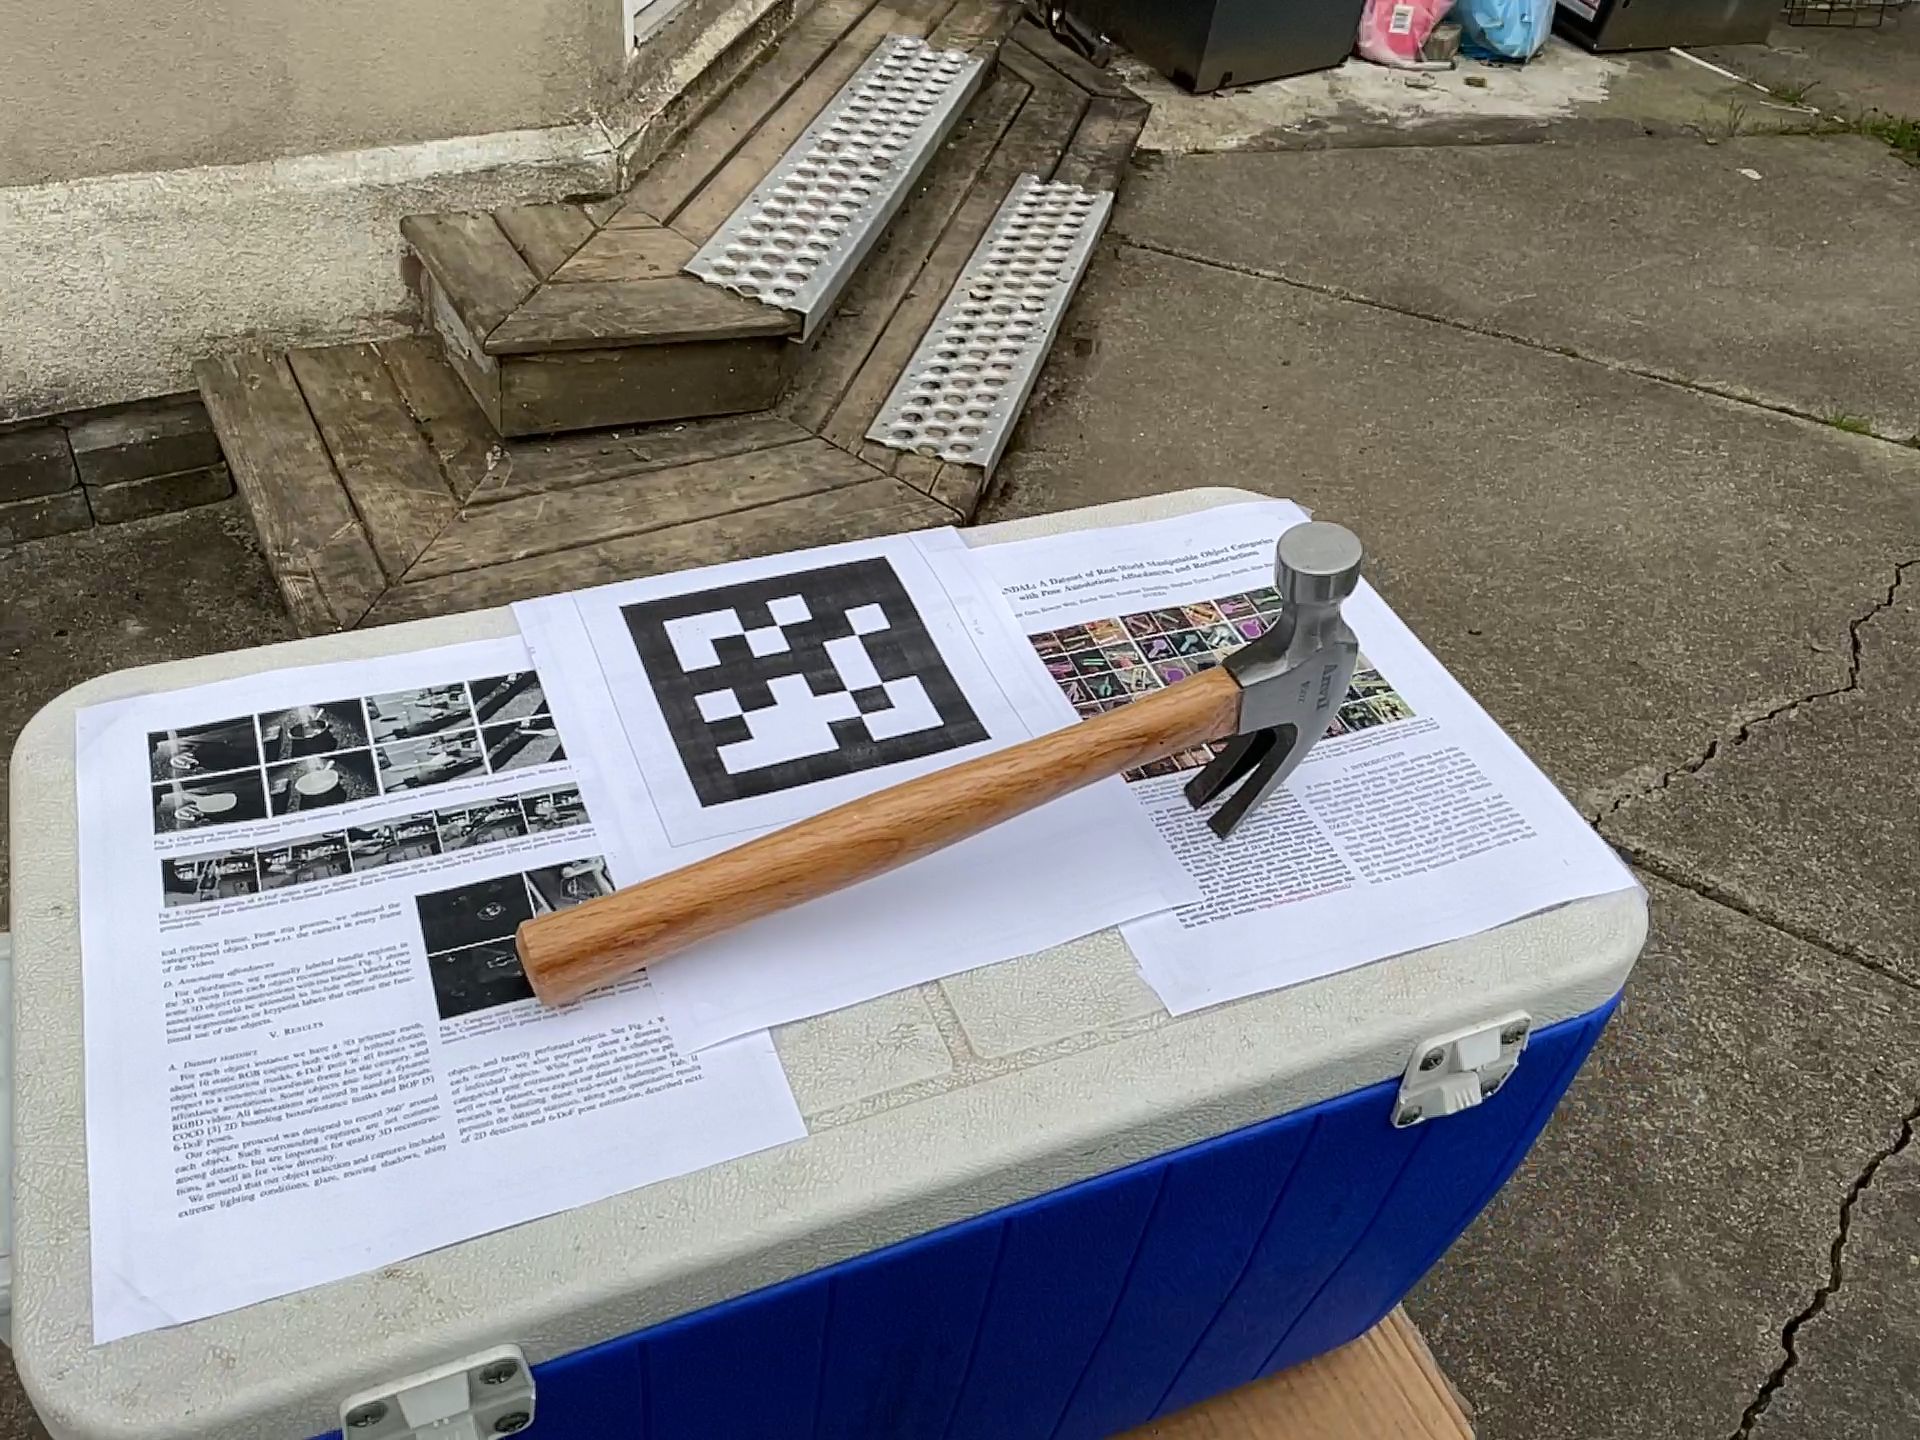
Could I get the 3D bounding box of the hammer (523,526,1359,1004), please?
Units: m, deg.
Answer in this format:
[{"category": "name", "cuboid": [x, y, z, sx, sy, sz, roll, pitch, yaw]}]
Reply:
[{"category": "hammer", "cuboid": [0.001, 0.033, 0.603, 0.331, 0.130, 0.031, -21, 47, -13]}]
